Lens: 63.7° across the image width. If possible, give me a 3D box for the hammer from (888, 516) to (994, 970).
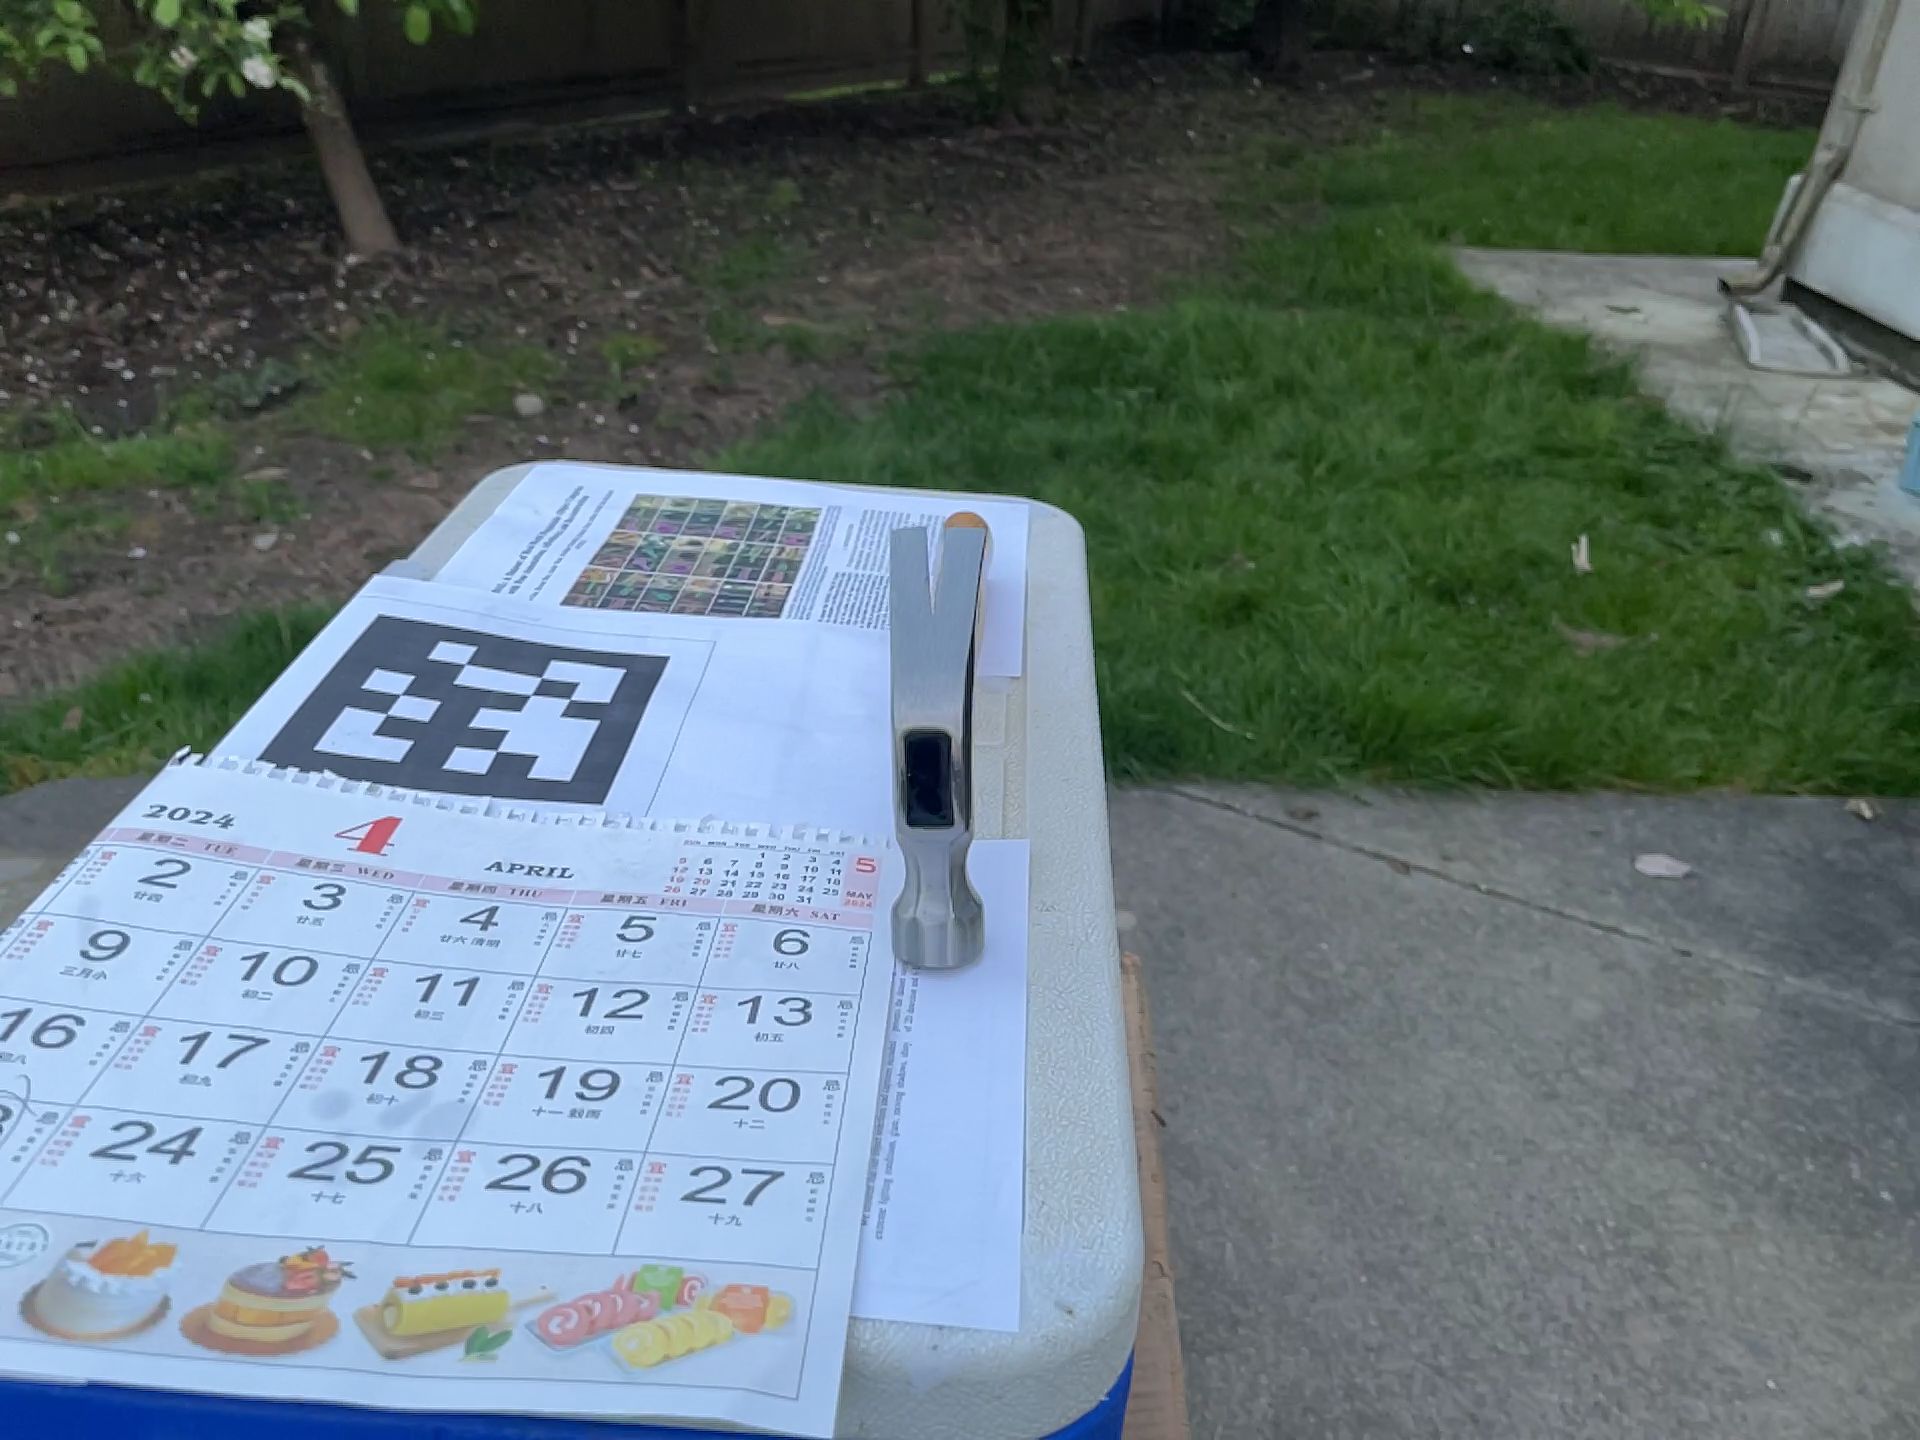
[{"bbox_3d":[-0.003,-0.035,0.622,0.031,0.130,0.331,0,19,2],"label":"hammer"}]
